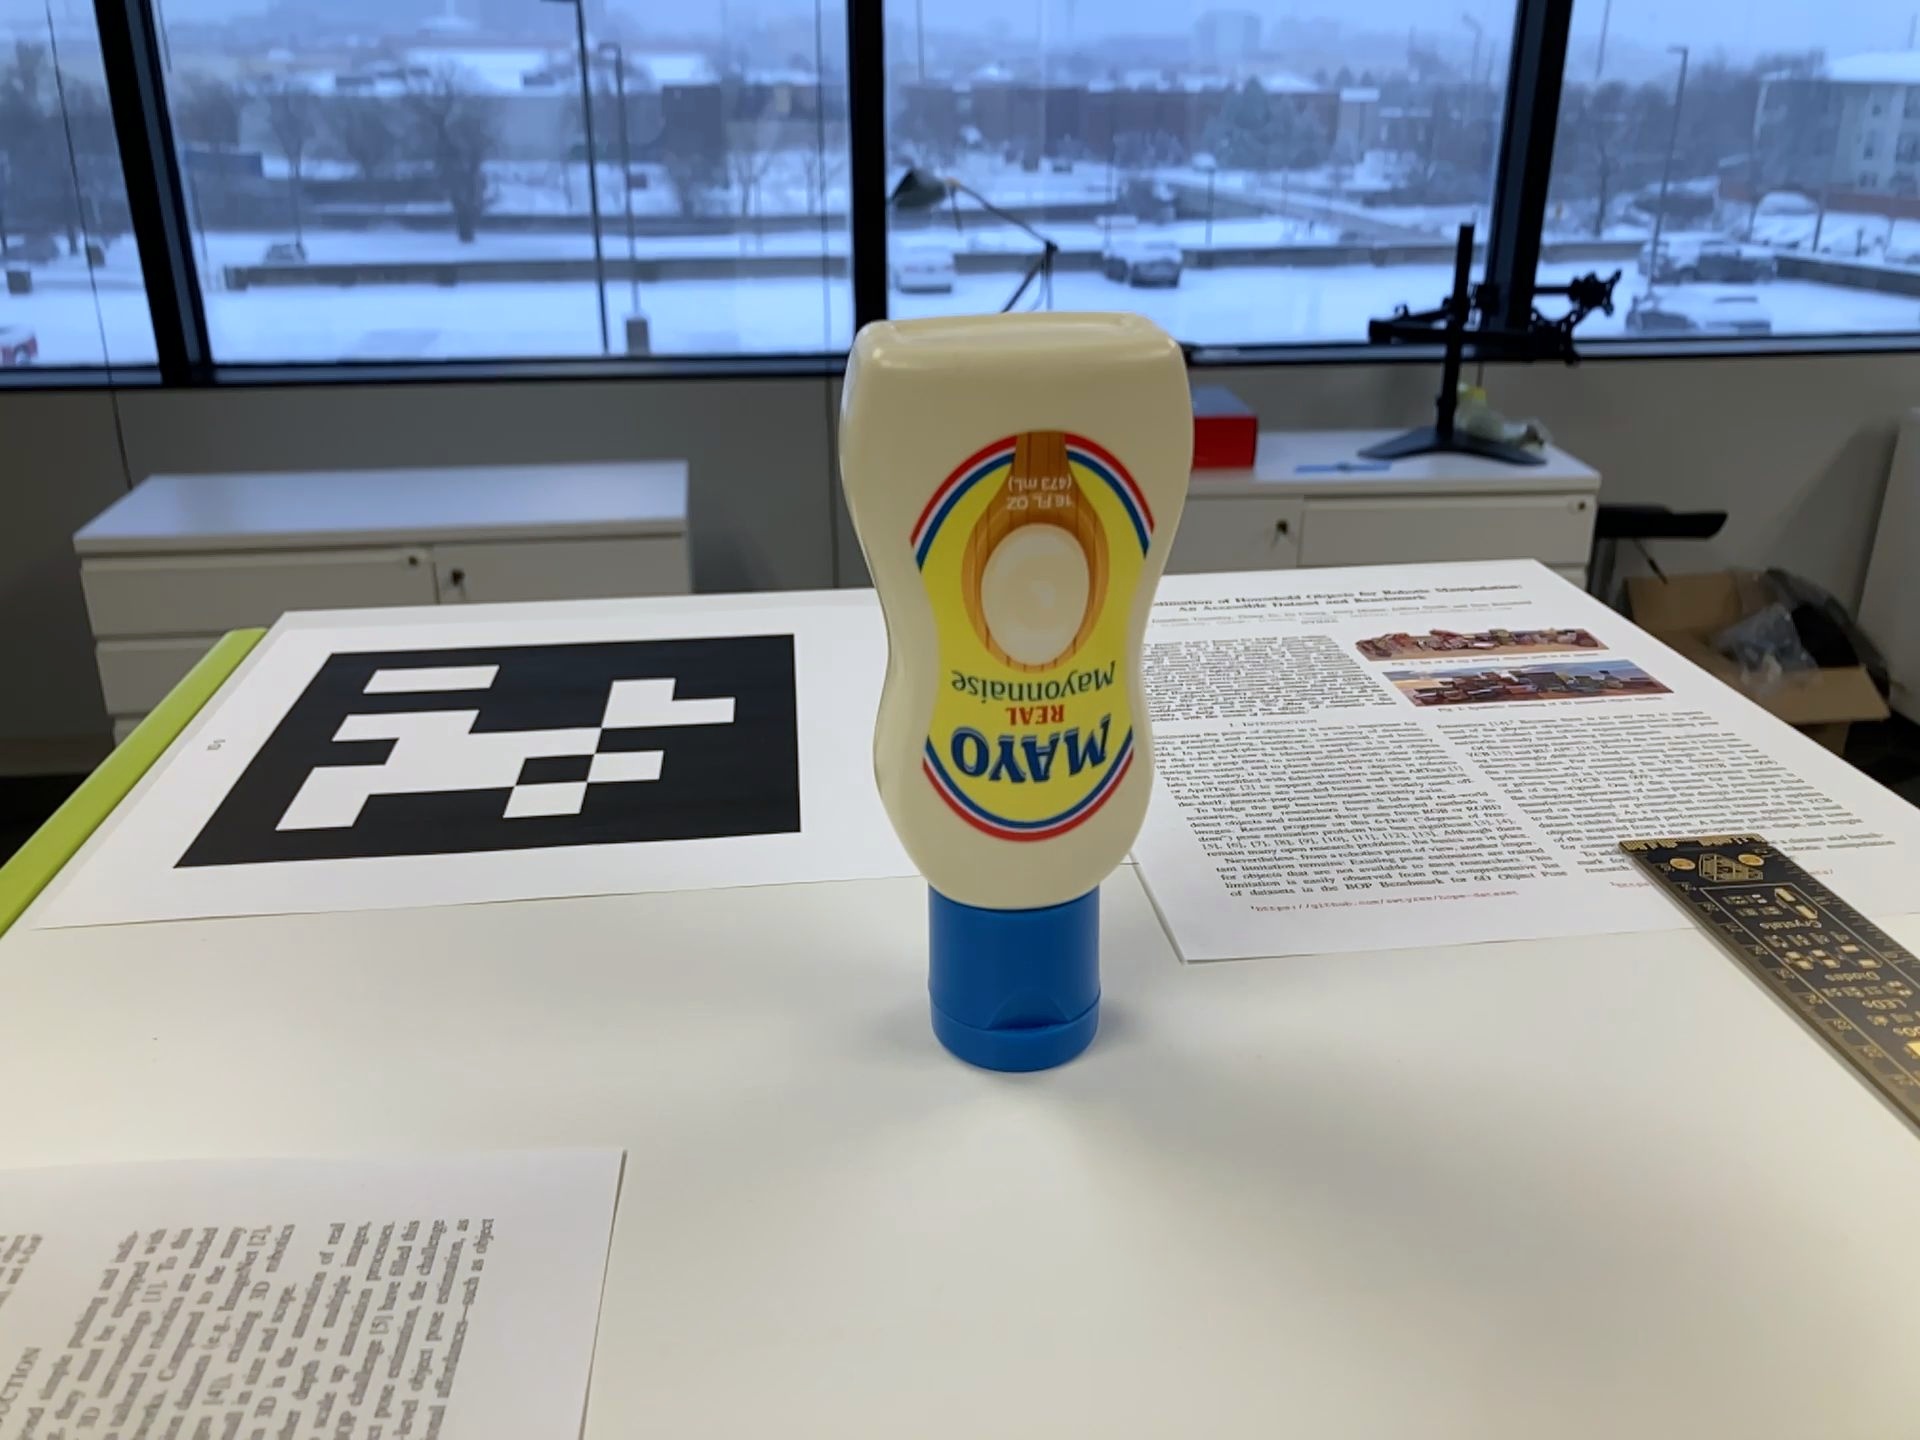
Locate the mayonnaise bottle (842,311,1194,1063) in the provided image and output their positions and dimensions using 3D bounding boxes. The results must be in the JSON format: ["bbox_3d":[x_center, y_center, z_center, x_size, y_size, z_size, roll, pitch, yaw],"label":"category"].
[{"bbox_3d":[0.011,-0.004,0.315,0.065,0.148,0.041,-4,22,-7],"label":"mayonnaise bottle"}]
